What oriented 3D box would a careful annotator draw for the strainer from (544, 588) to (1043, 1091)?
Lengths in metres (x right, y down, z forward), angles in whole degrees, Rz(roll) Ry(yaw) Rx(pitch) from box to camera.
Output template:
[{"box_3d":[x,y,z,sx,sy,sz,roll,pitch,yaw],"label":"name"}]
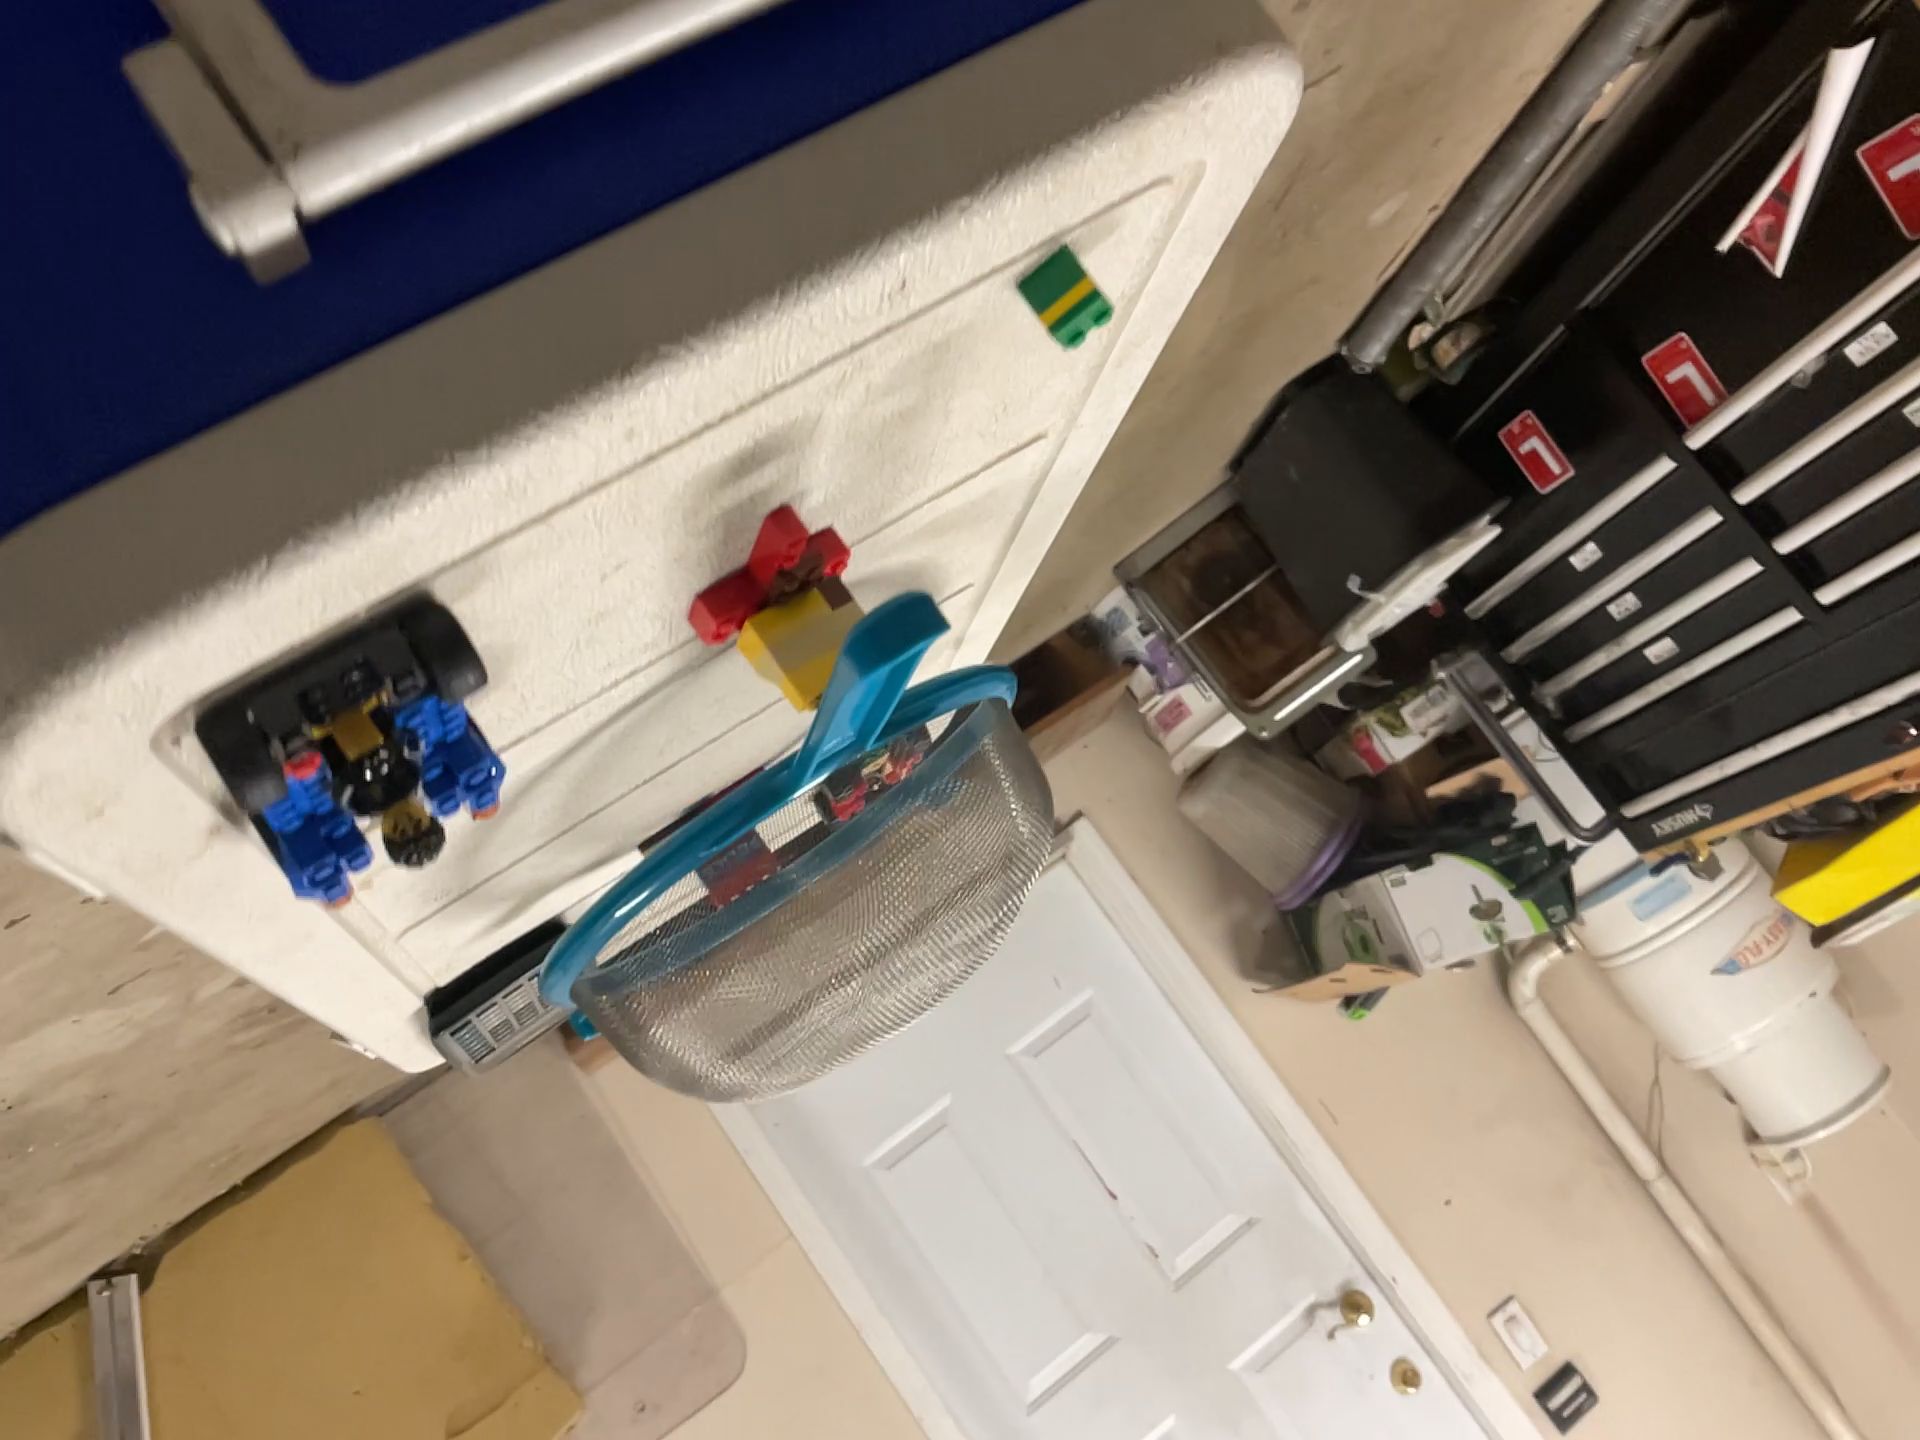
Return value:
[{"box_3d":[-0.027,0.055,0.535,0.211,0.095,0.340,-33,172,-20],"label":"strainer"}]
